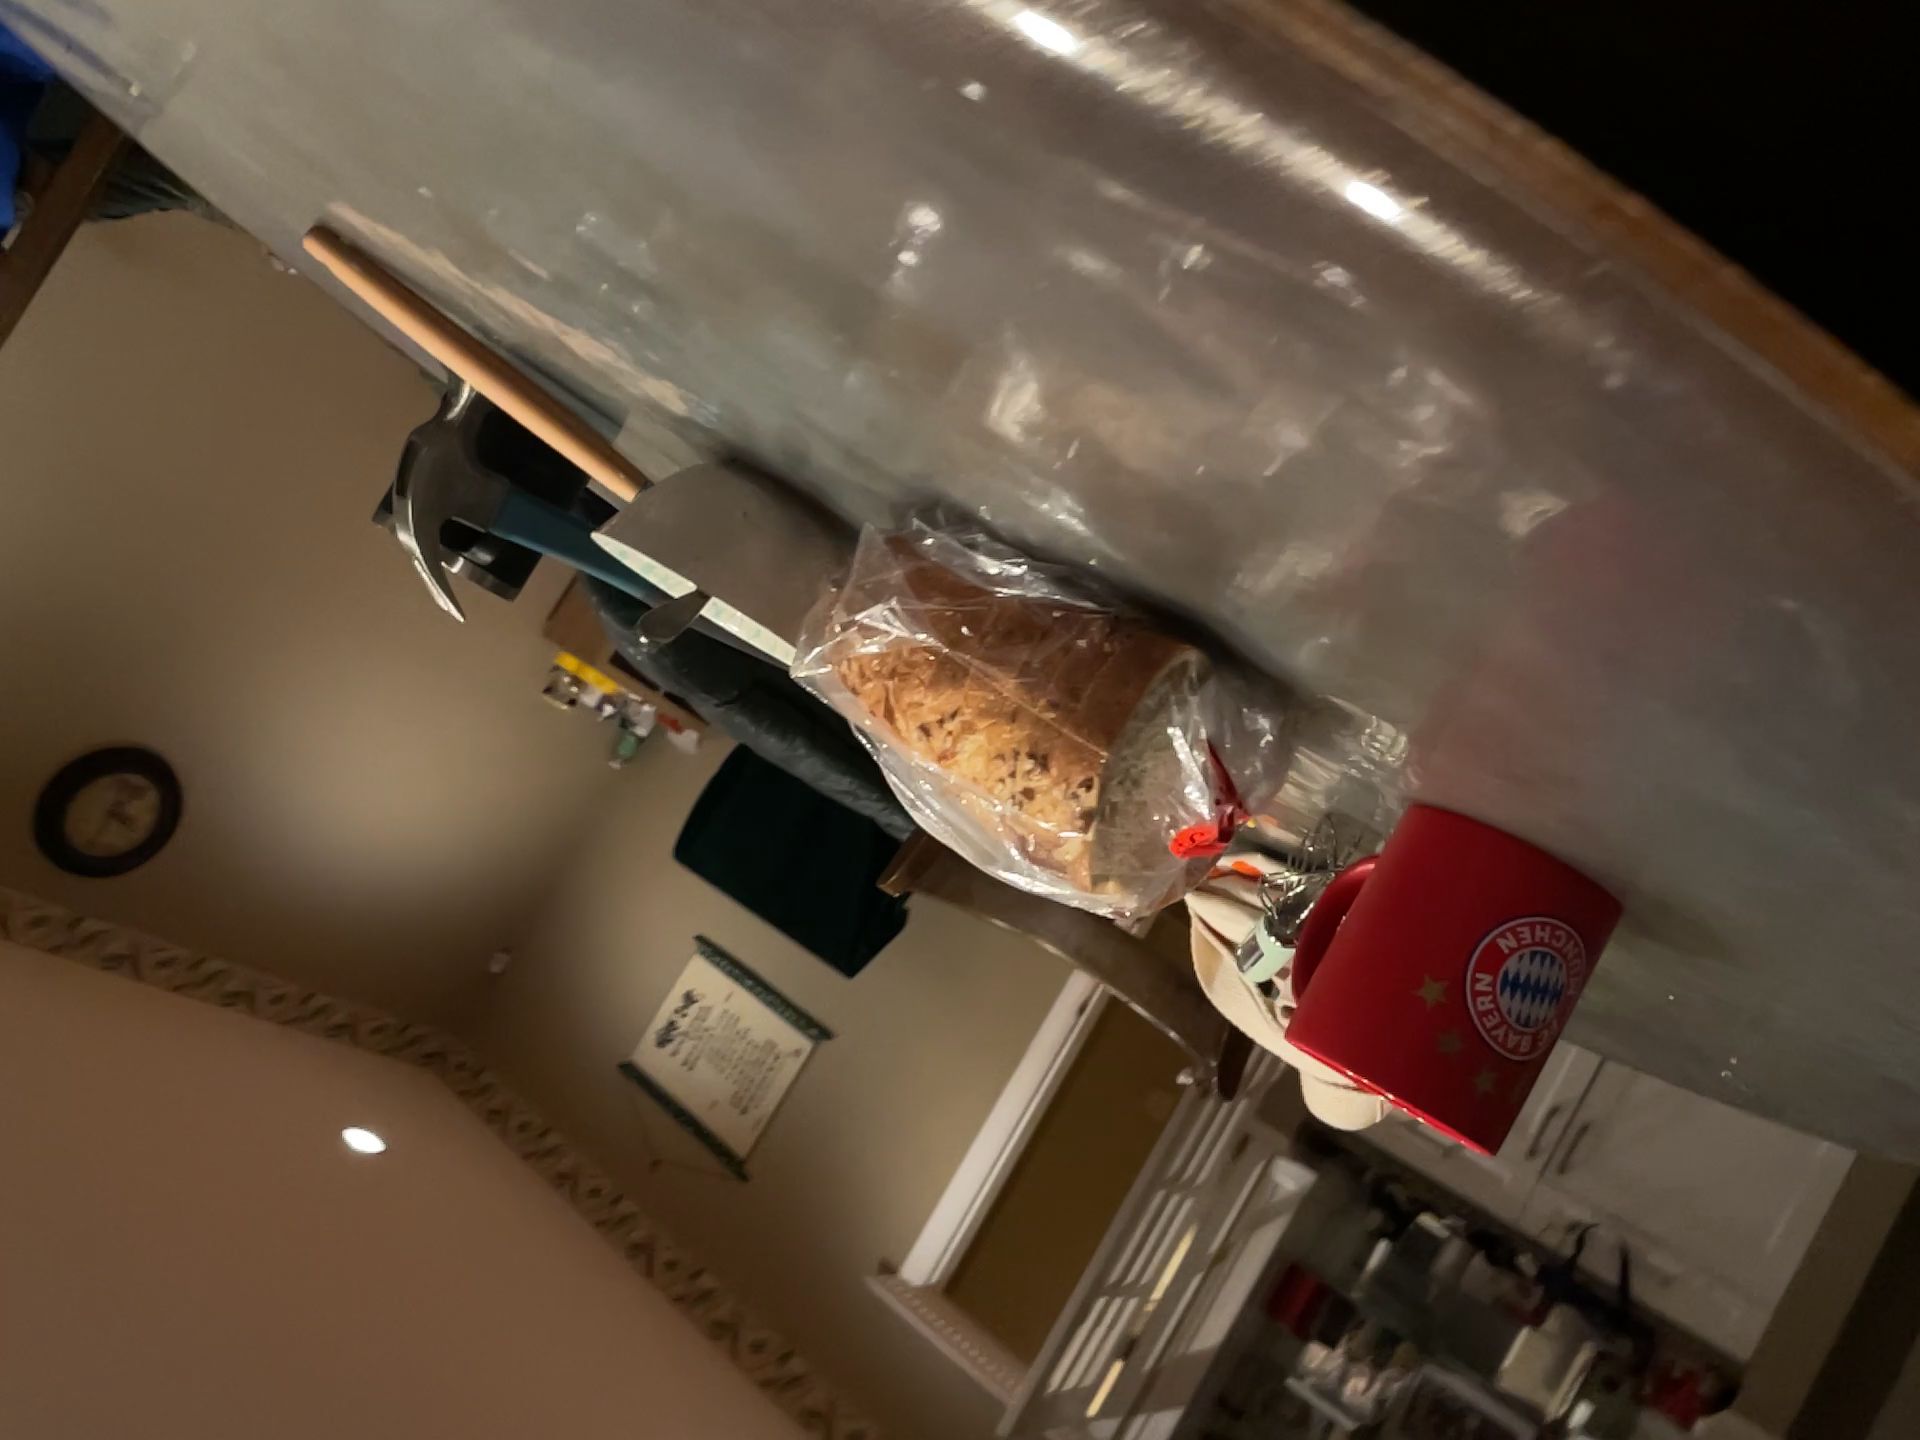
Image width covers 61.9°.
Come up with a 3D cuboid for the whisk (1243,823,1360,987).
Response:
[{"bbox_3d":[0.163,0.102,0.785,0.059,0.058,0.246,1,162,3],"label":"whisk"}]

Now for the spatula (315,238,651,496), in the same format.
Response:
[{"bbox_3d":[-0.167,-0.134,0.782,0.317,0.044,0.082,37,174,-17],"label":"spatula"}]

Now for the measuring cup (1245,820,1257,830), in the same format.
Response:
[{"bbox_3d":[0.074,0.019,0.770,0.156,0.029,0.062,34,174,-8],"label":"measuring cup"}]

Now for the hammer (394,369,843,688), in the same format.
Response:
[{"bbox_3d":[-0.169,-0.081,0.919,0.331,0.128,0.033,24,-177,-43],"label":"hammer"}]

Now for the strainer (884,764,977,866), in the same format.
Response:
[{"bbox_3d":[0.045,0.059,0.963,0.211,0.095,0.340,30,170,22],"label":"strainer"}]
